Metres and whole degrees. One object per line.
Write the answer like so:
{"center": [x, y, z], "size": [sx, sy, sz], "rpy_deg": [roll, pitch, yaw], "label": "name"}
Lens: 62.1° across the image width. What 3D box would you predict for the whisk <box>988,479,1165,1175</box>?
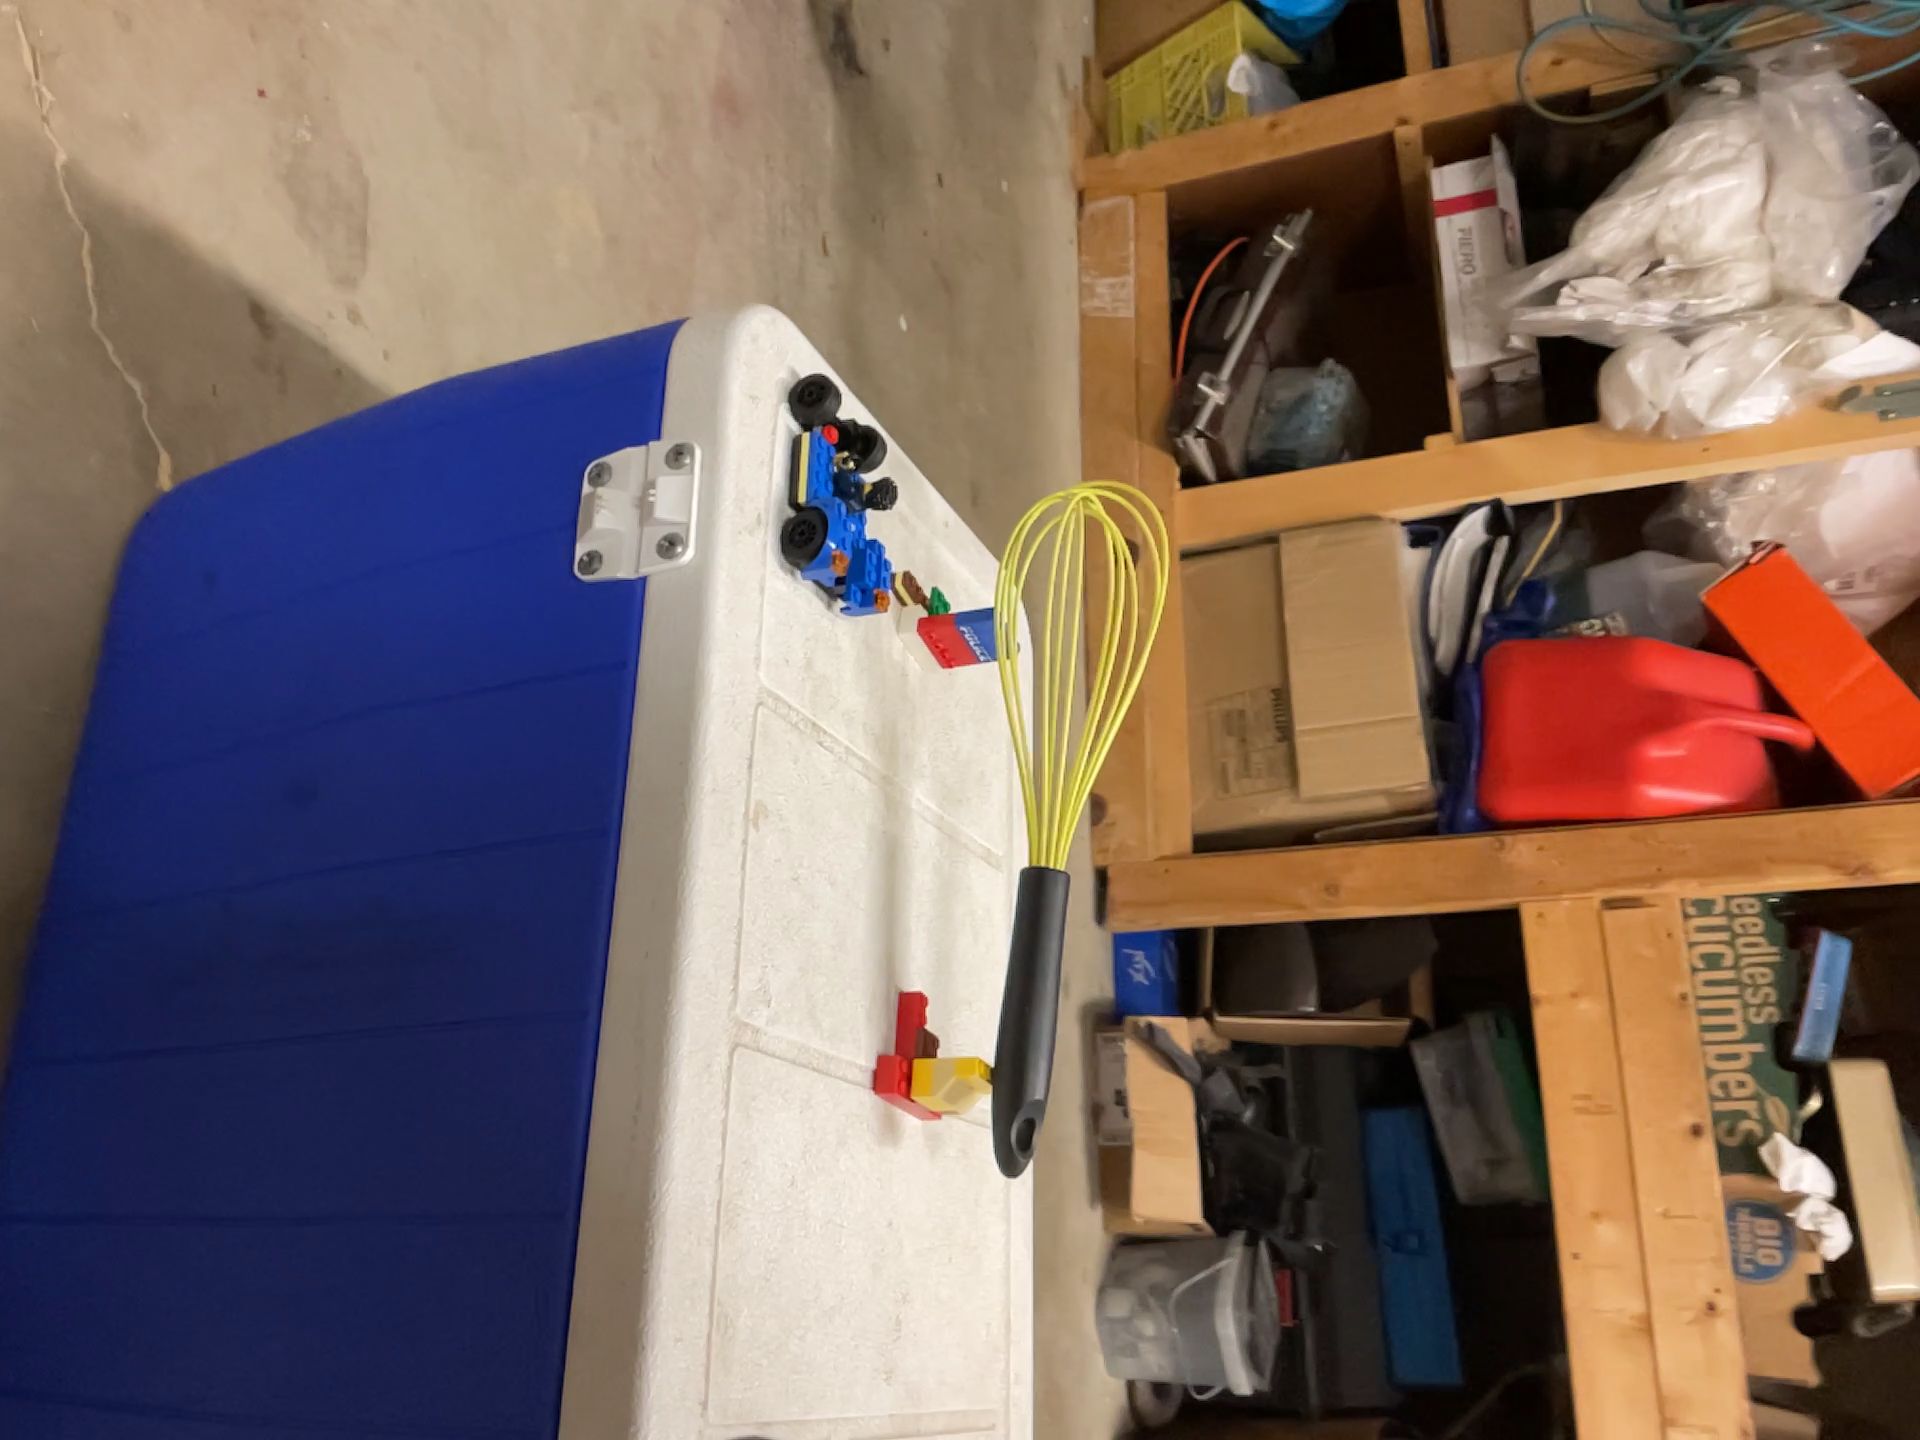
{"center": [0.039, 0.037, 0.696], "size": [0.080, 0.067, 0.312], "rpy_deg": [13, 73, -18], "label": "whisk"}
